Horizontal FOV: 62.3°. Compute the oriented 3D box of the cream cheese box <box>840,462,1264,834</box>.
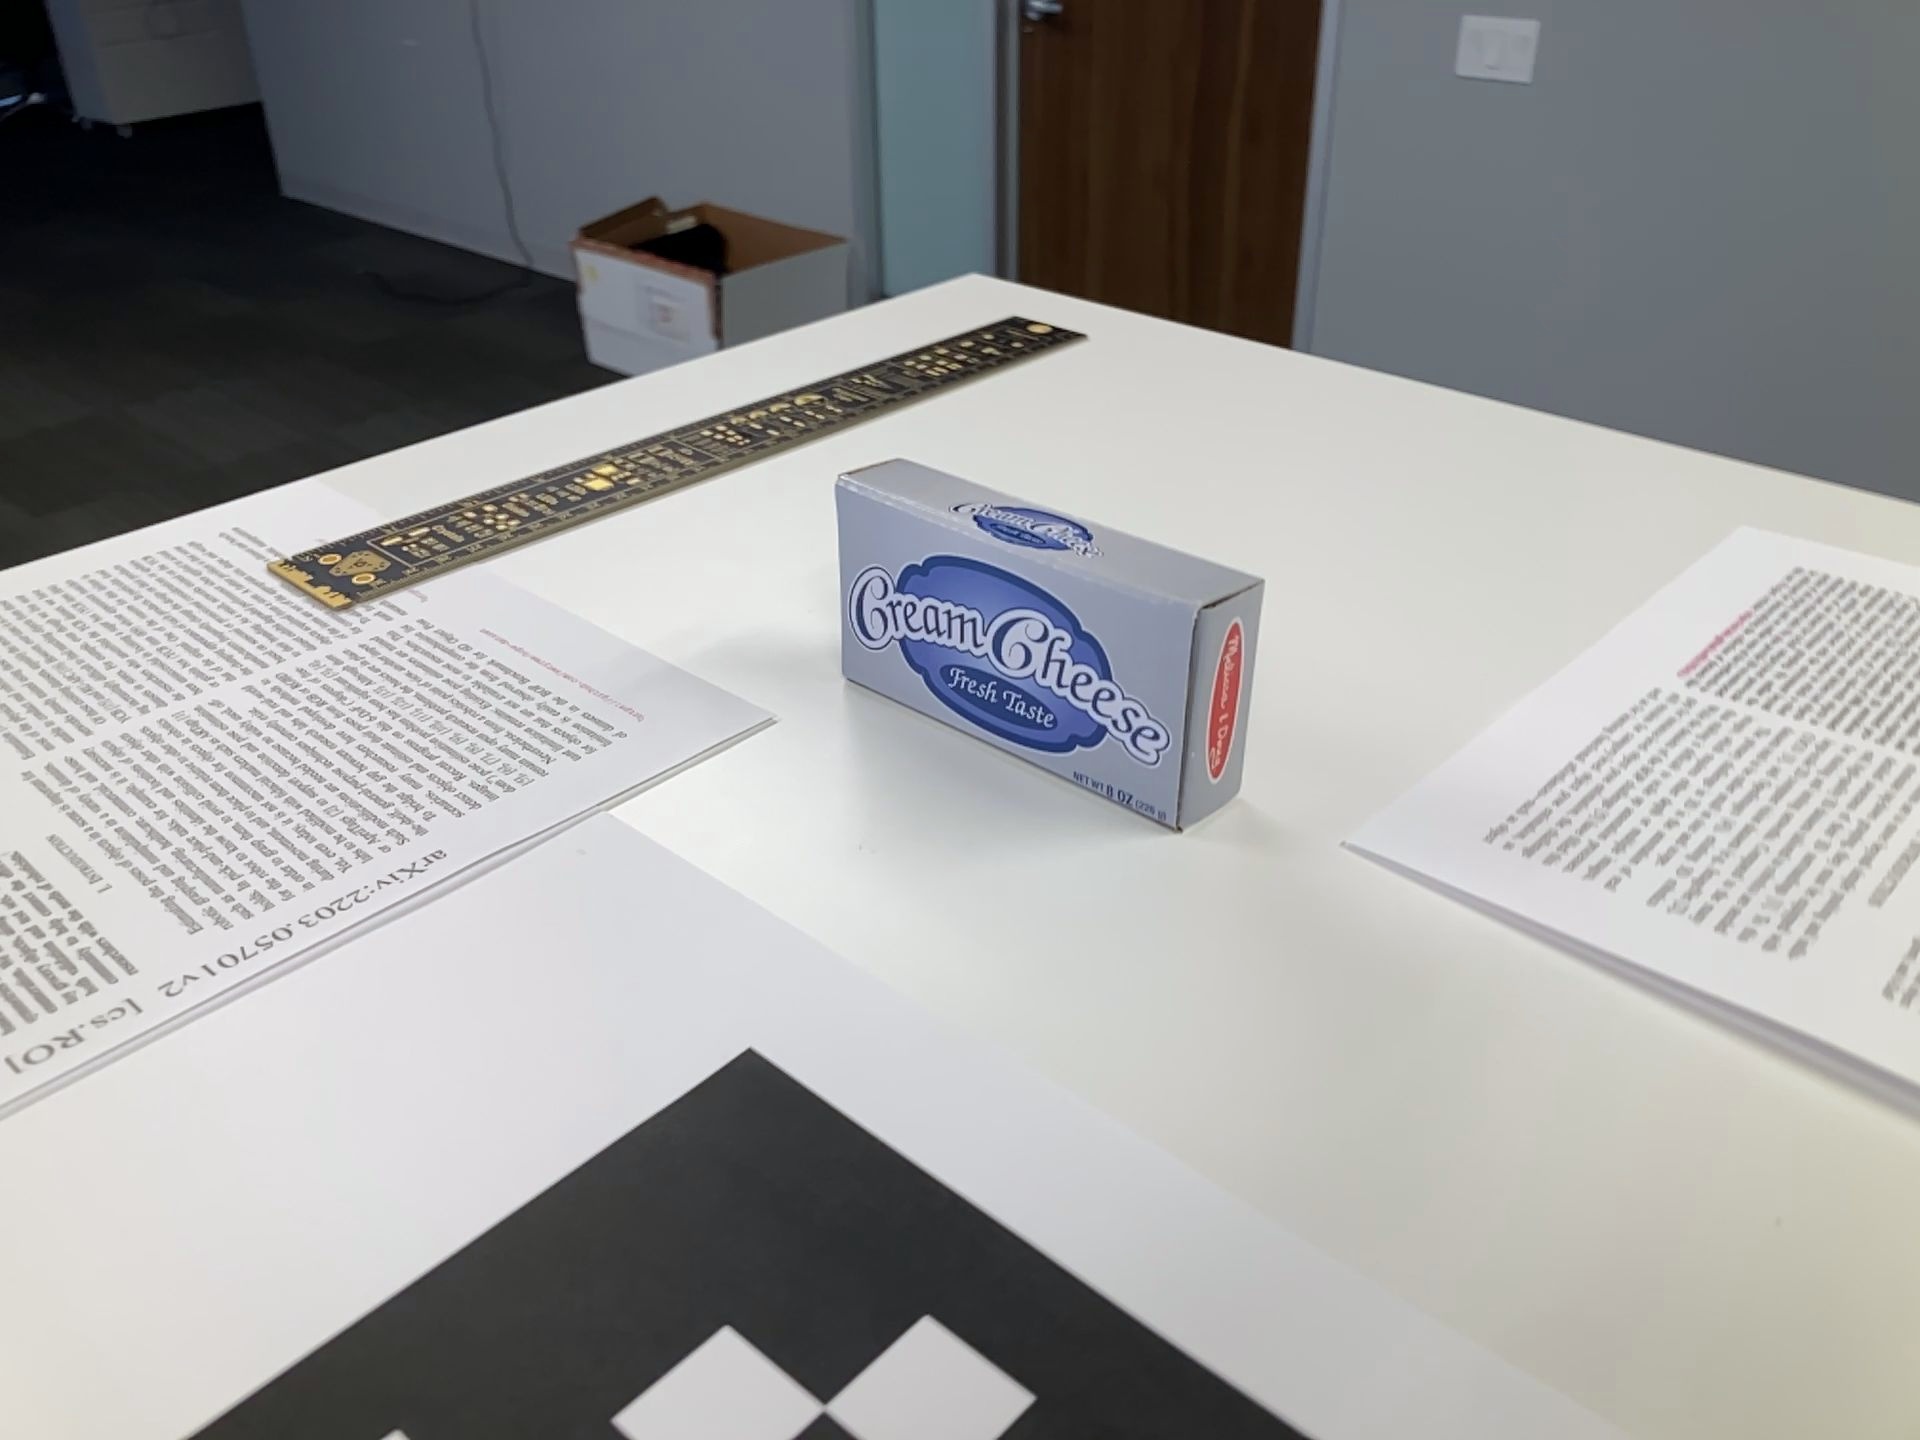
[{"bbox_3d":[0.016,-0.019,0.357,0.104,0.053,0.024,25,37,35],"label":"cream cheese box"}]
